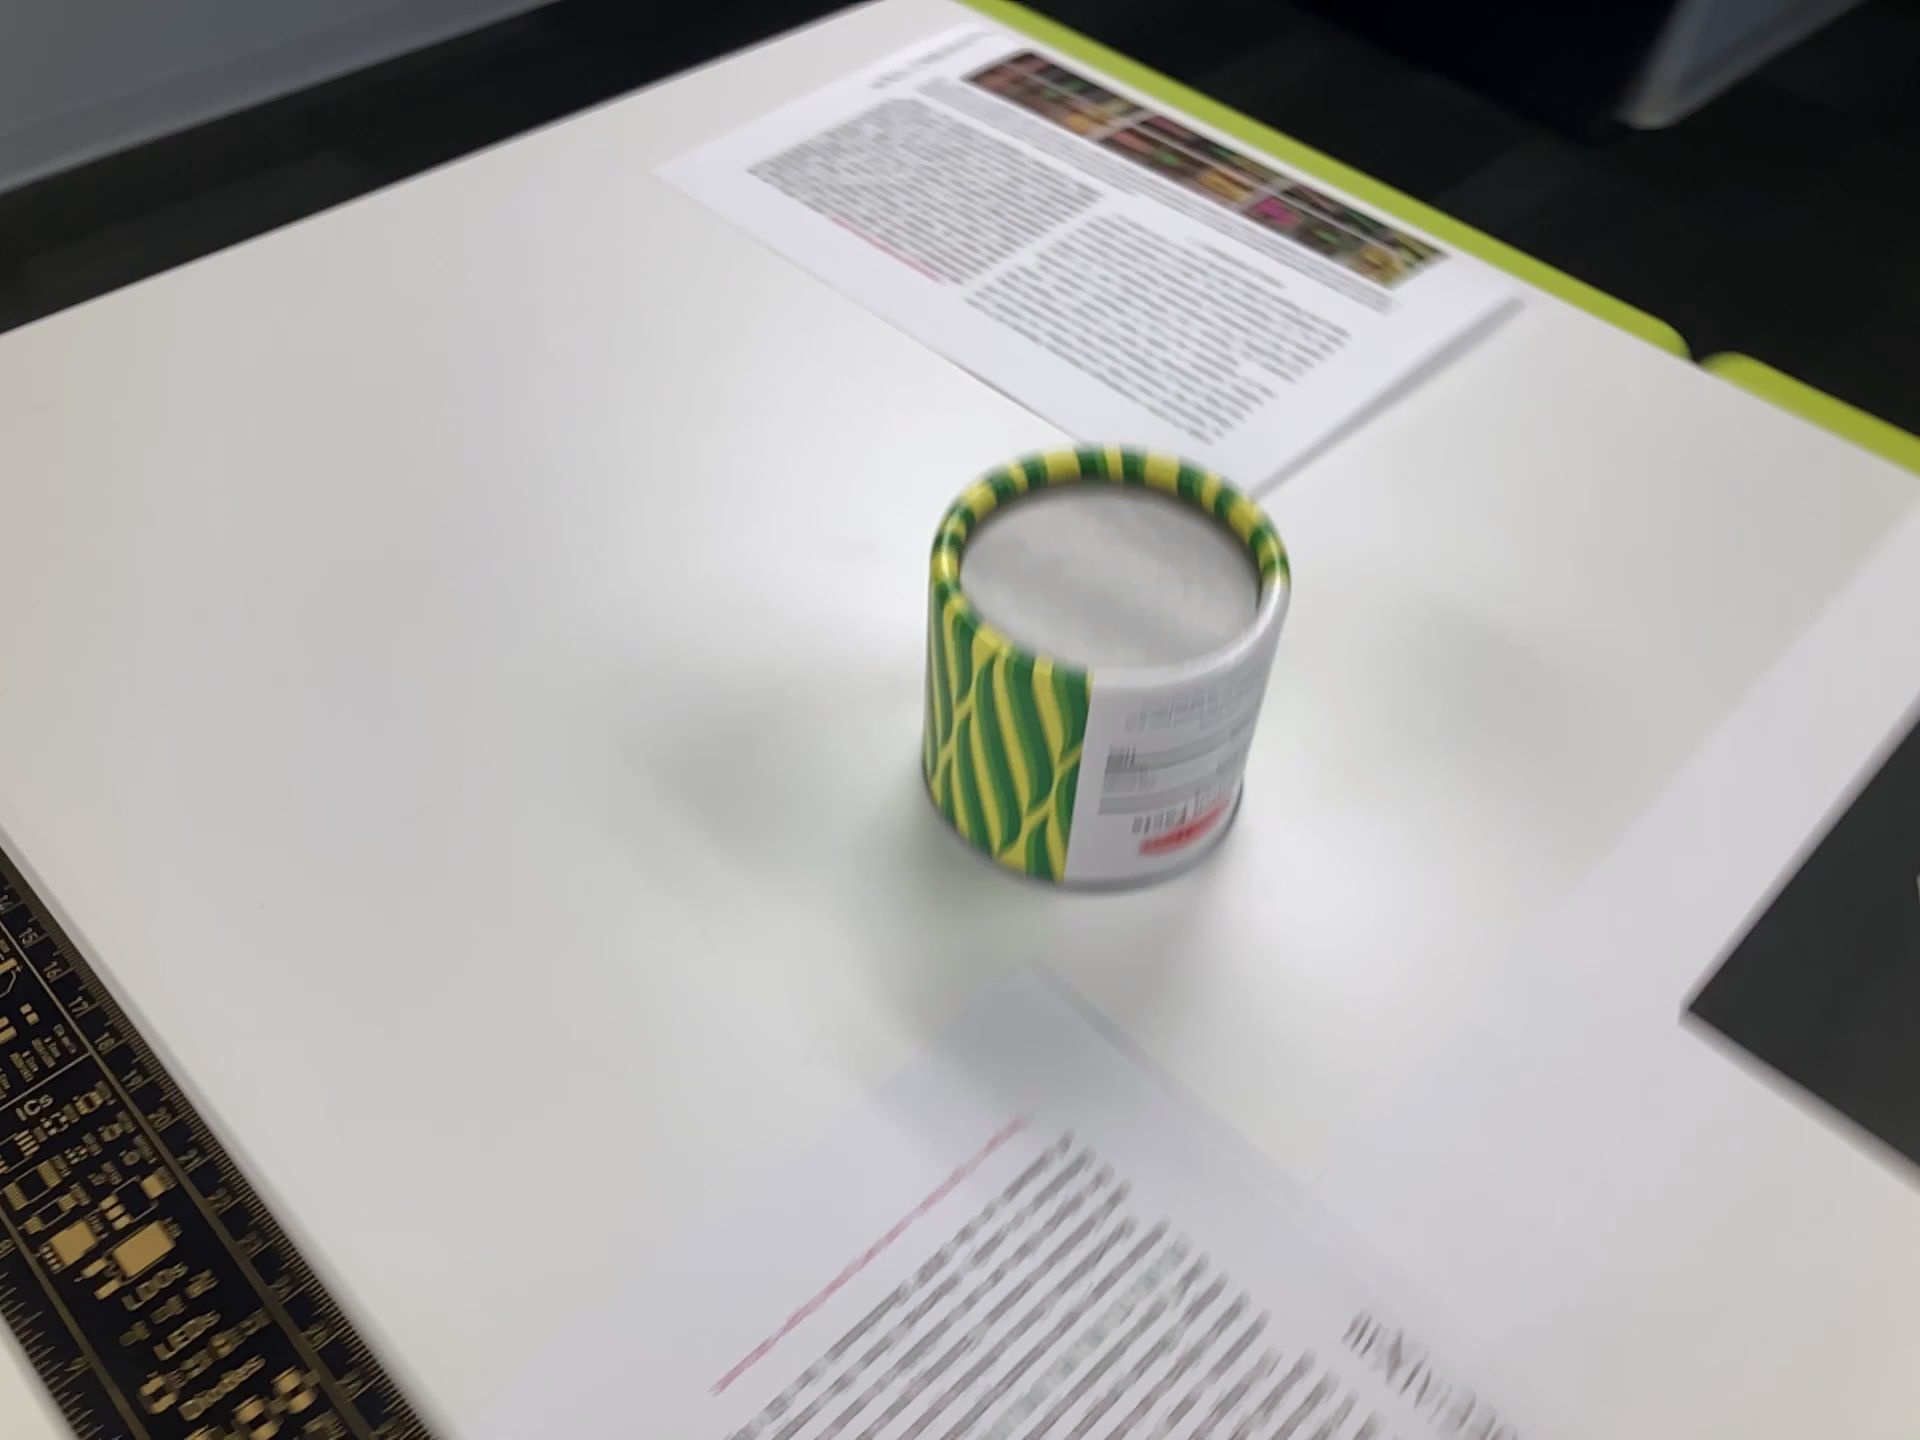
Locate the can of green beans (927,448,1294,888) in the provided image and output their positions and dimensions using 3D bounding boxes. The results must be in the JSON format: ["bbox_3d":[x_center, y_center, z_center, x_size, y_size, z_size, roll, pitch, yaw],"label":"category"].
[{"bbox_3d":[0.027,-0.011,0.312,0.071,0.058,0.071,1,48,-1],"label":"can of green beans"}]
